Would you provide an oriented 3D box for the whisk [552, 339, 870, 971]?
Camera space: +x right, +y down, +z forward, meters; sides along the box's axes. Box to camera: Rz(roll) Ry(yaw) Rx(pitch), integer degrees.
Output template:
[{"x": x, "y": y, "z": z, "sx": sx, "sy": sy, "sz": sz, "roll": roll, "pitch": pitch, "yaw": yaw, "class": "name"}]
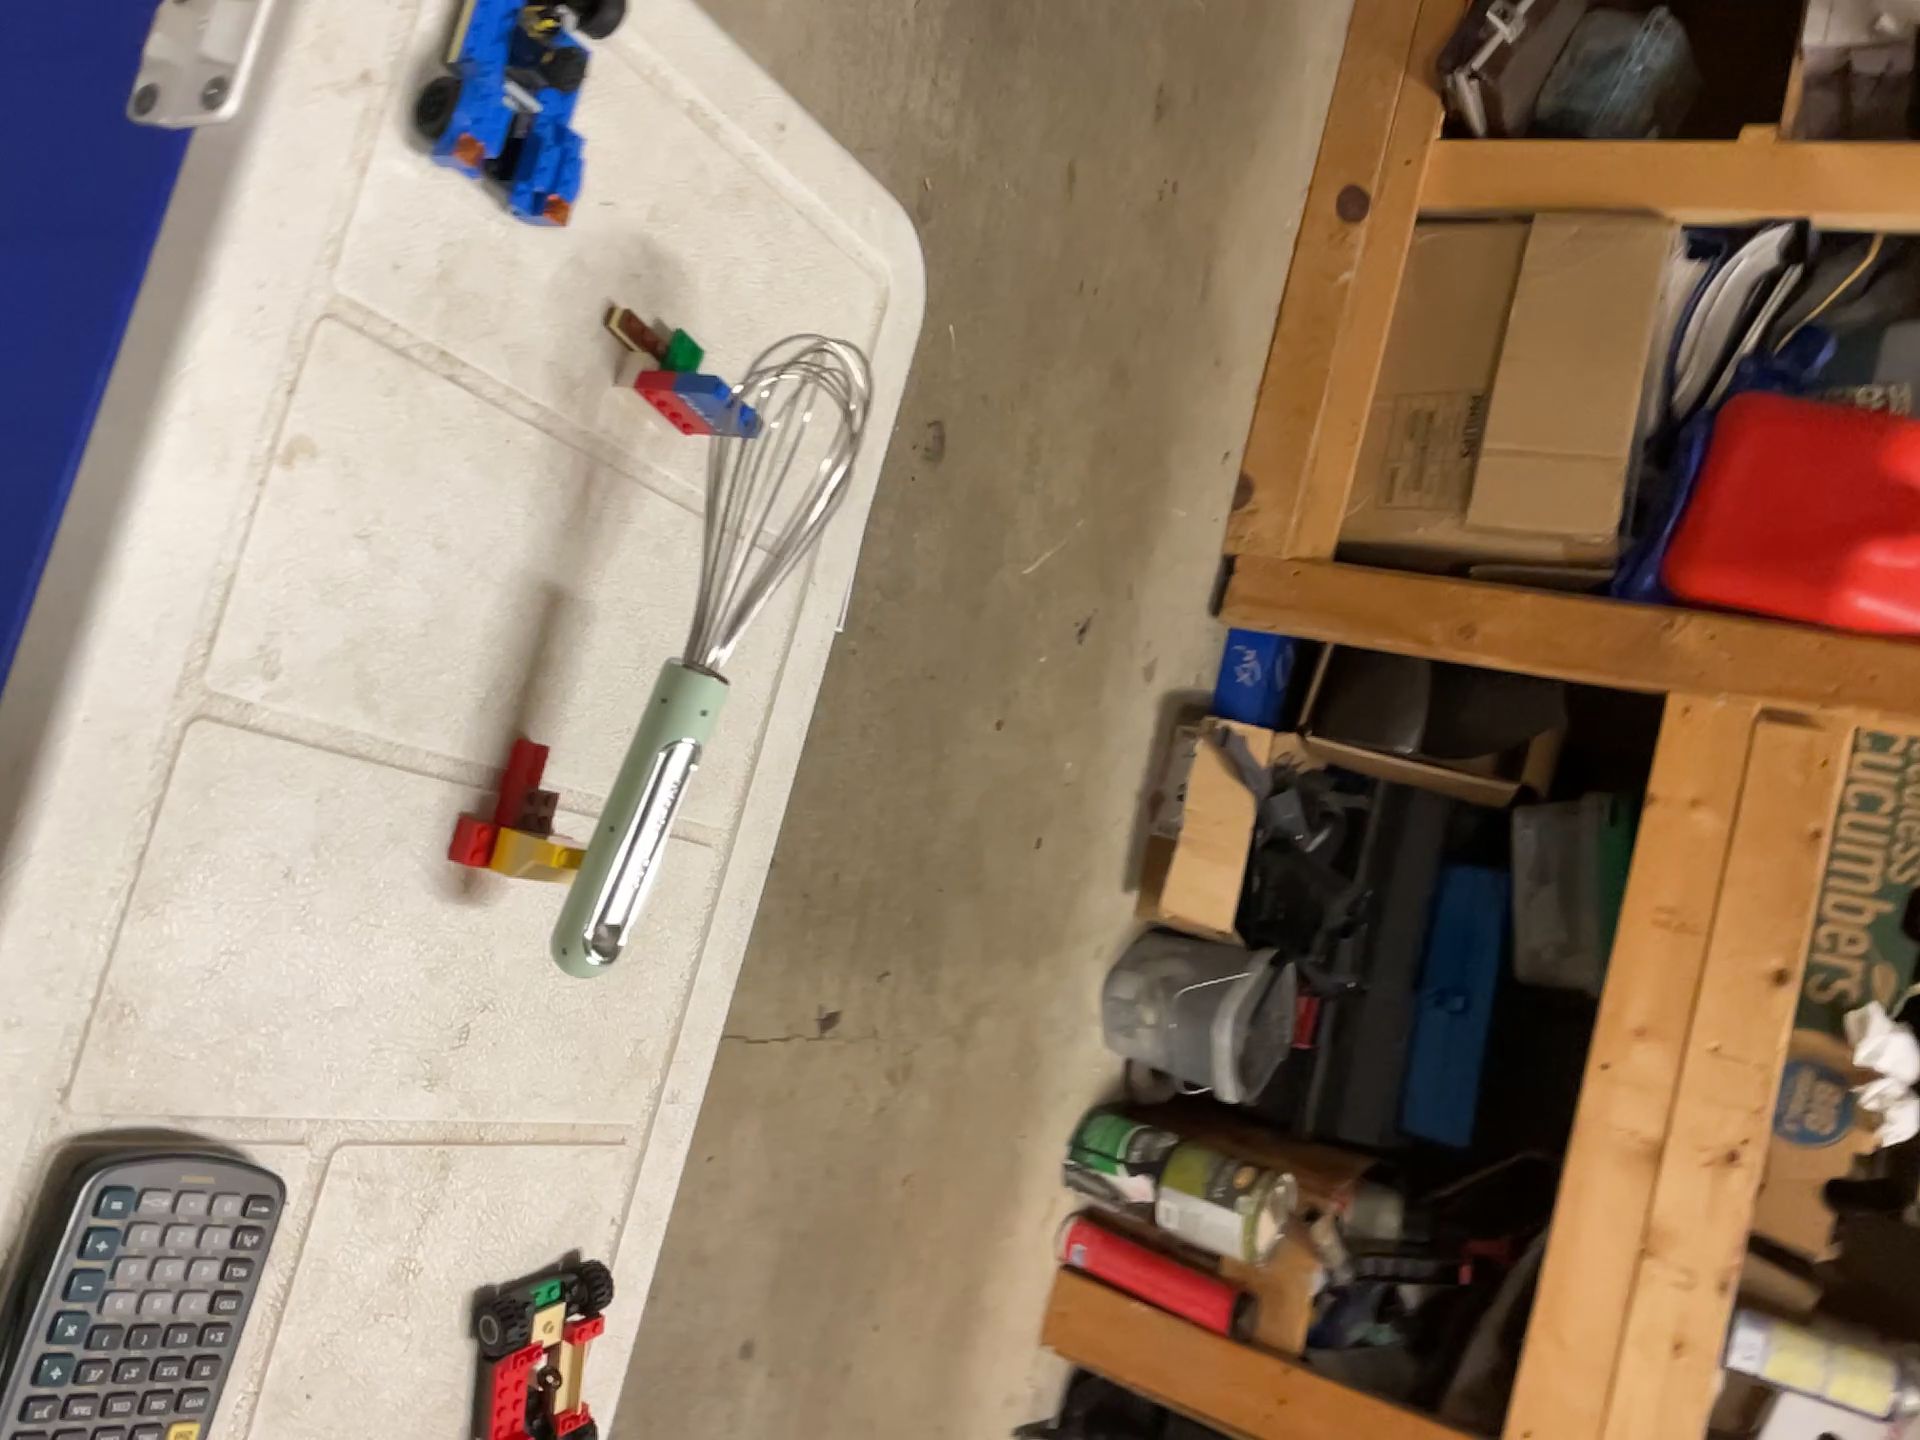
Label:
[{"x": -0.092, "y": -0.025, "z": 0.580, "sx": 0.058, "sy": 0.059, "sz": 0.246, "roll": 26, "pitch": 84, "yaw": -50, "class": "whisk"}]
